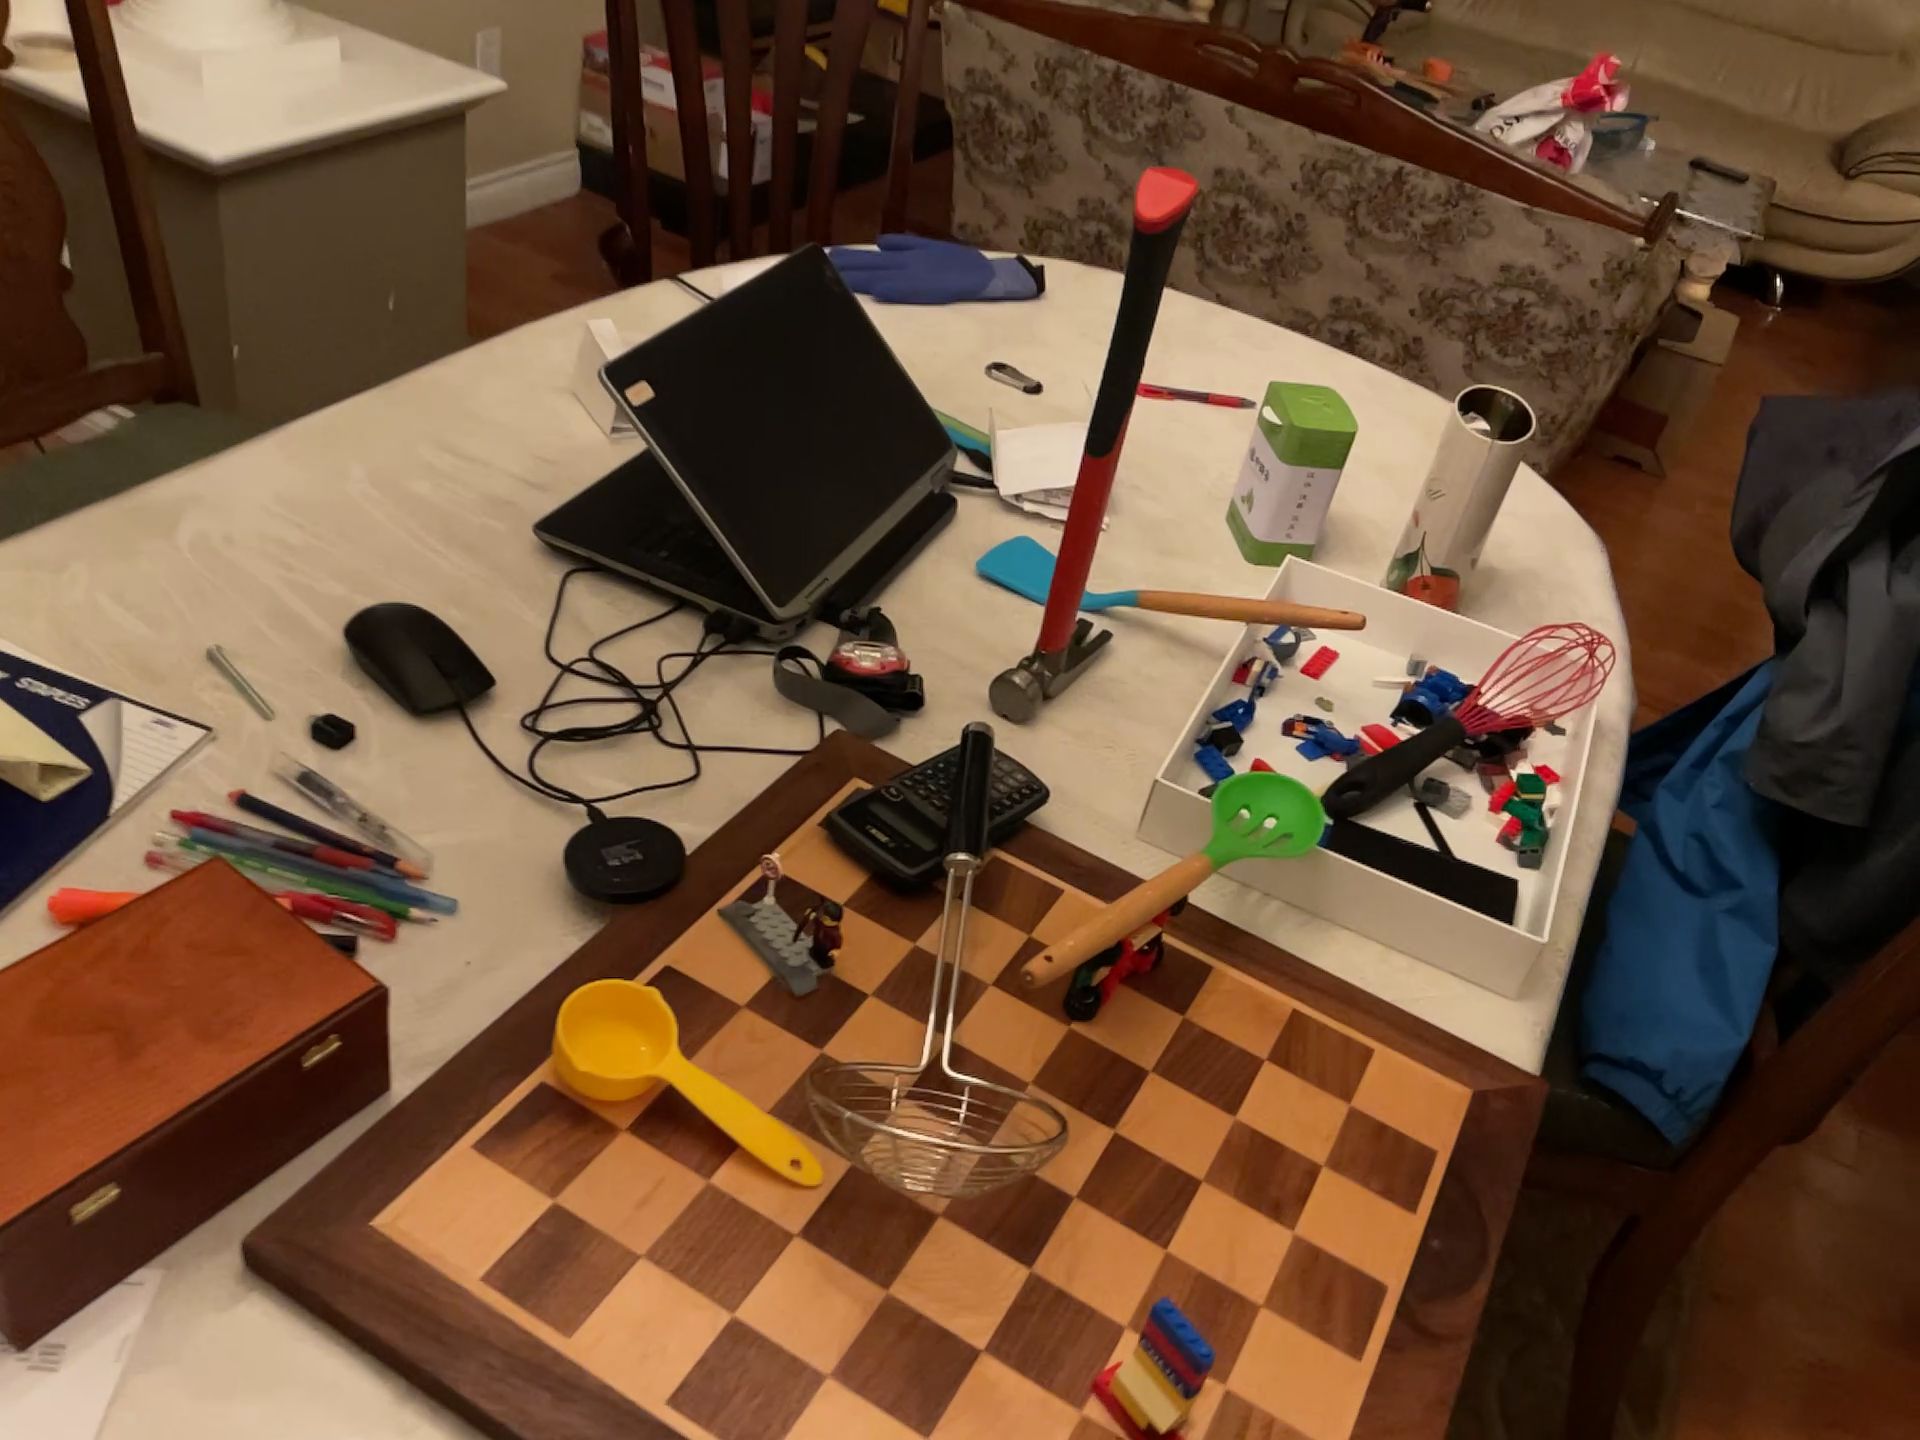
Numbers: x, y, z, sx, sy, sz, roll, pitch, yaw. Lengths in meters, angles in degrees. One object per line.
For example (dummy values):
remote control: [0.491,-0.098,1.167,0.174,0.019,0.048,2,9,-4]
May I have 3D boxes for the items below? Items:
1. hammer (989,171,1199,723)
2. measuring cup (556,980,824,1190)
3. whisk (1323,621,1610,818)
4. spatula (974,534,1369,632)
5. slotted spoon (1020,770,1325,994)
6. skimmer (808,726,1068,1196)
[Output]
hammer: [0.102,-0.182,1.085,0.038,0.386,0.143,27,39,19]
measuring cup: [-0.135,0.189,0.790,0.156,0.029,0.062,35,37,9]
whisk: [0.378,0.000,1.177,0.295,0.073,0.073,-27,32,-24]
spatula: [0.163,-0.101,1.238,0.318,0.044,0.082,10,29,33]
slotted spoon: [0.124,0.091,0.906,0.070,0.031,0.313,34,32,24]
skimmer: [0.001,0.106,0.871,0.127,0.090,0.363,10,40,-1]
